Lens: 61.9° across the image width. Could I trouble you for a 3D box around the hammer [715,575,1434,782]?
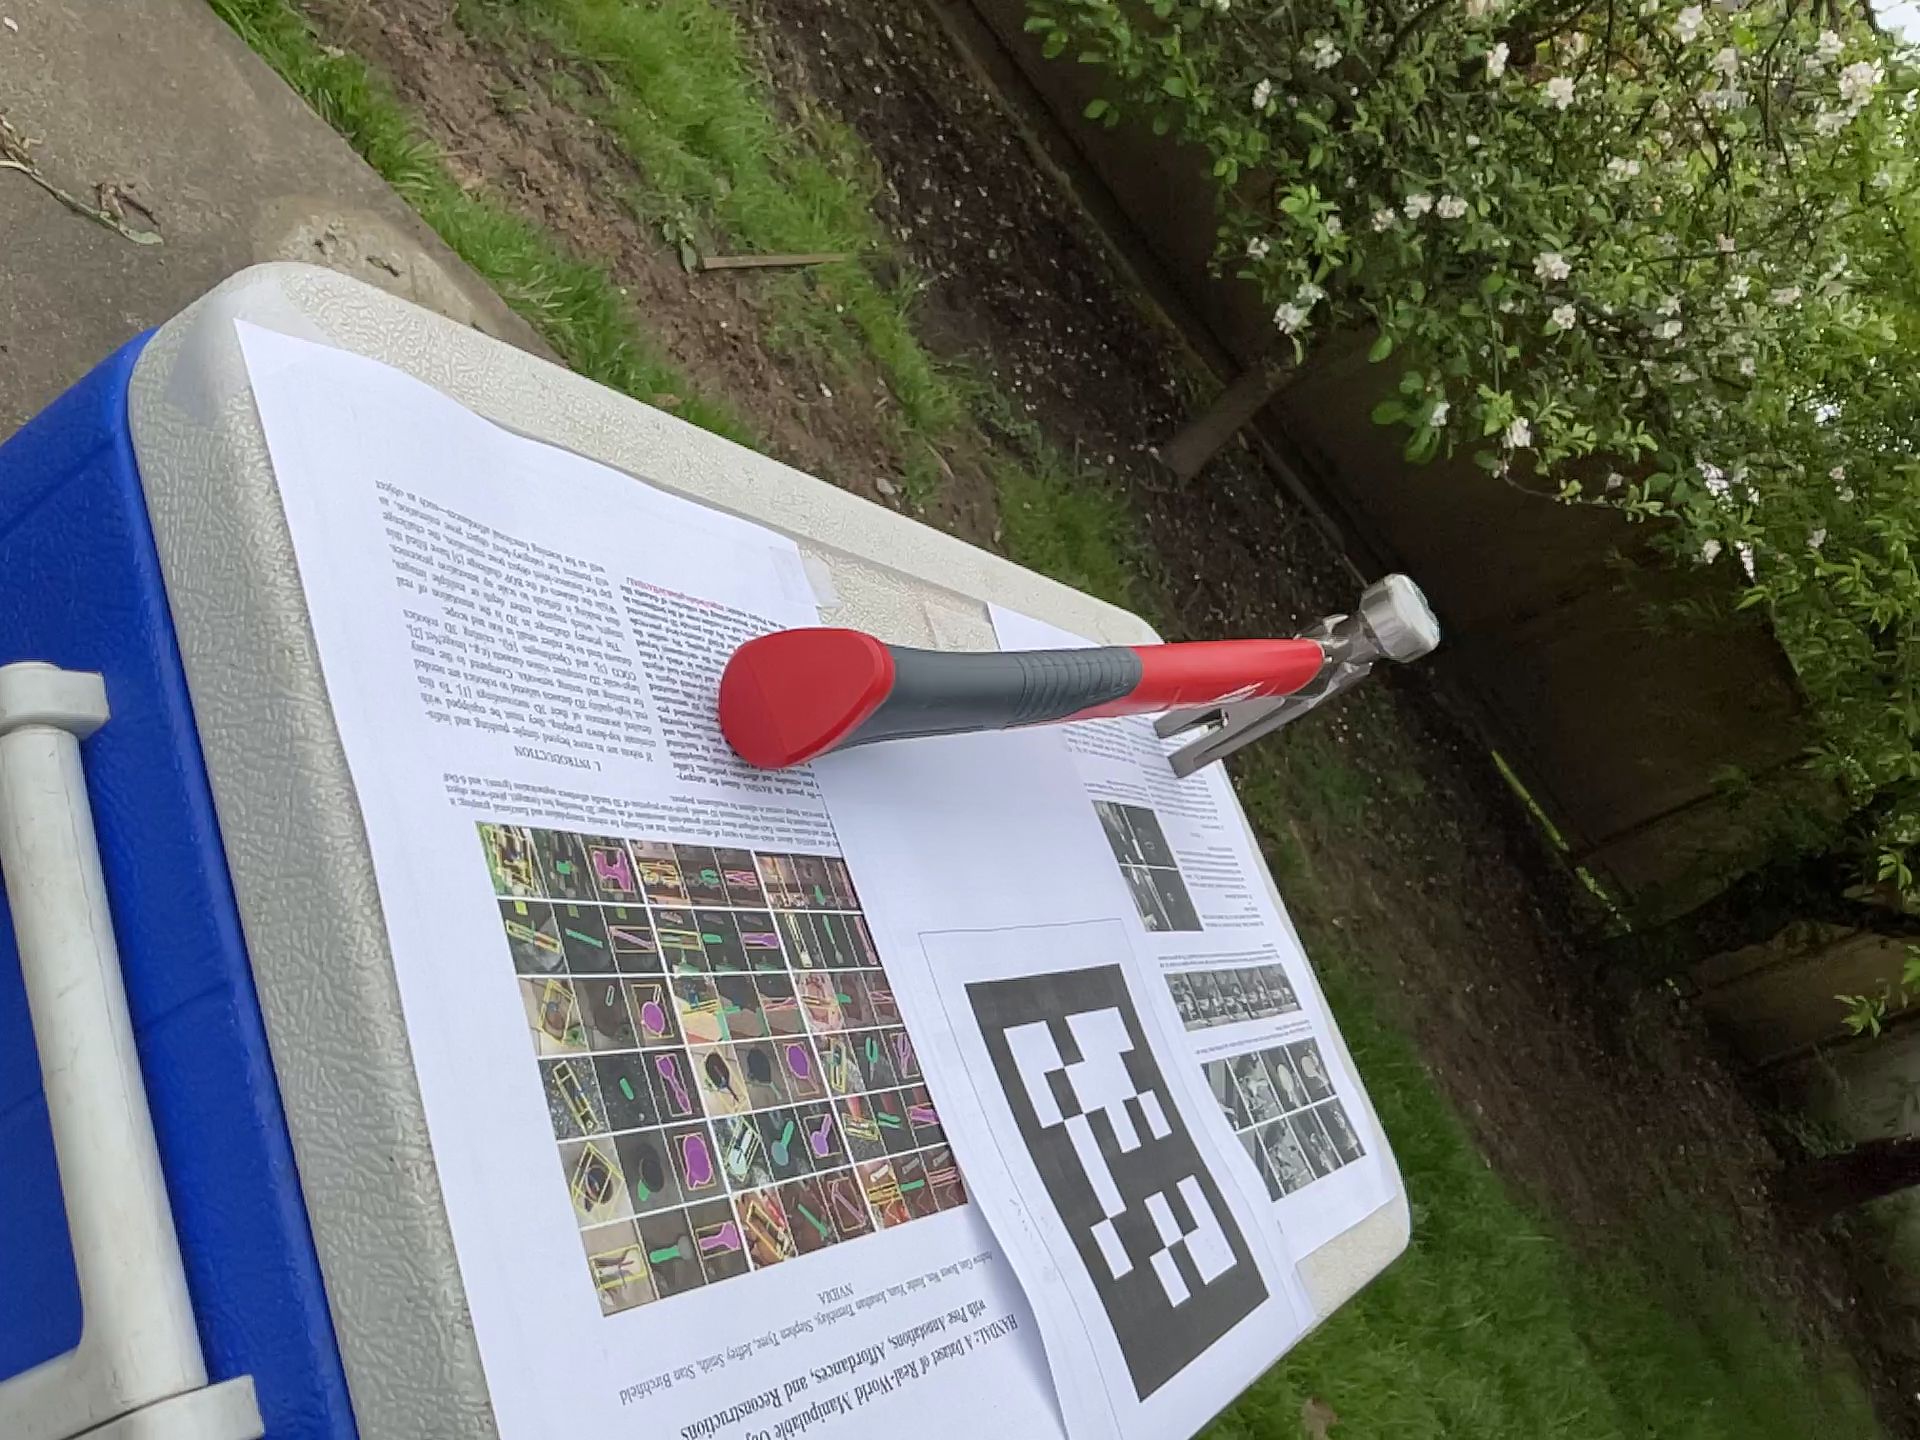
[{"bbox_3d":[0.045,-0.006,0.591,0.386,0.143,0.038,-6,68,-54],"label":"hammer"}]
